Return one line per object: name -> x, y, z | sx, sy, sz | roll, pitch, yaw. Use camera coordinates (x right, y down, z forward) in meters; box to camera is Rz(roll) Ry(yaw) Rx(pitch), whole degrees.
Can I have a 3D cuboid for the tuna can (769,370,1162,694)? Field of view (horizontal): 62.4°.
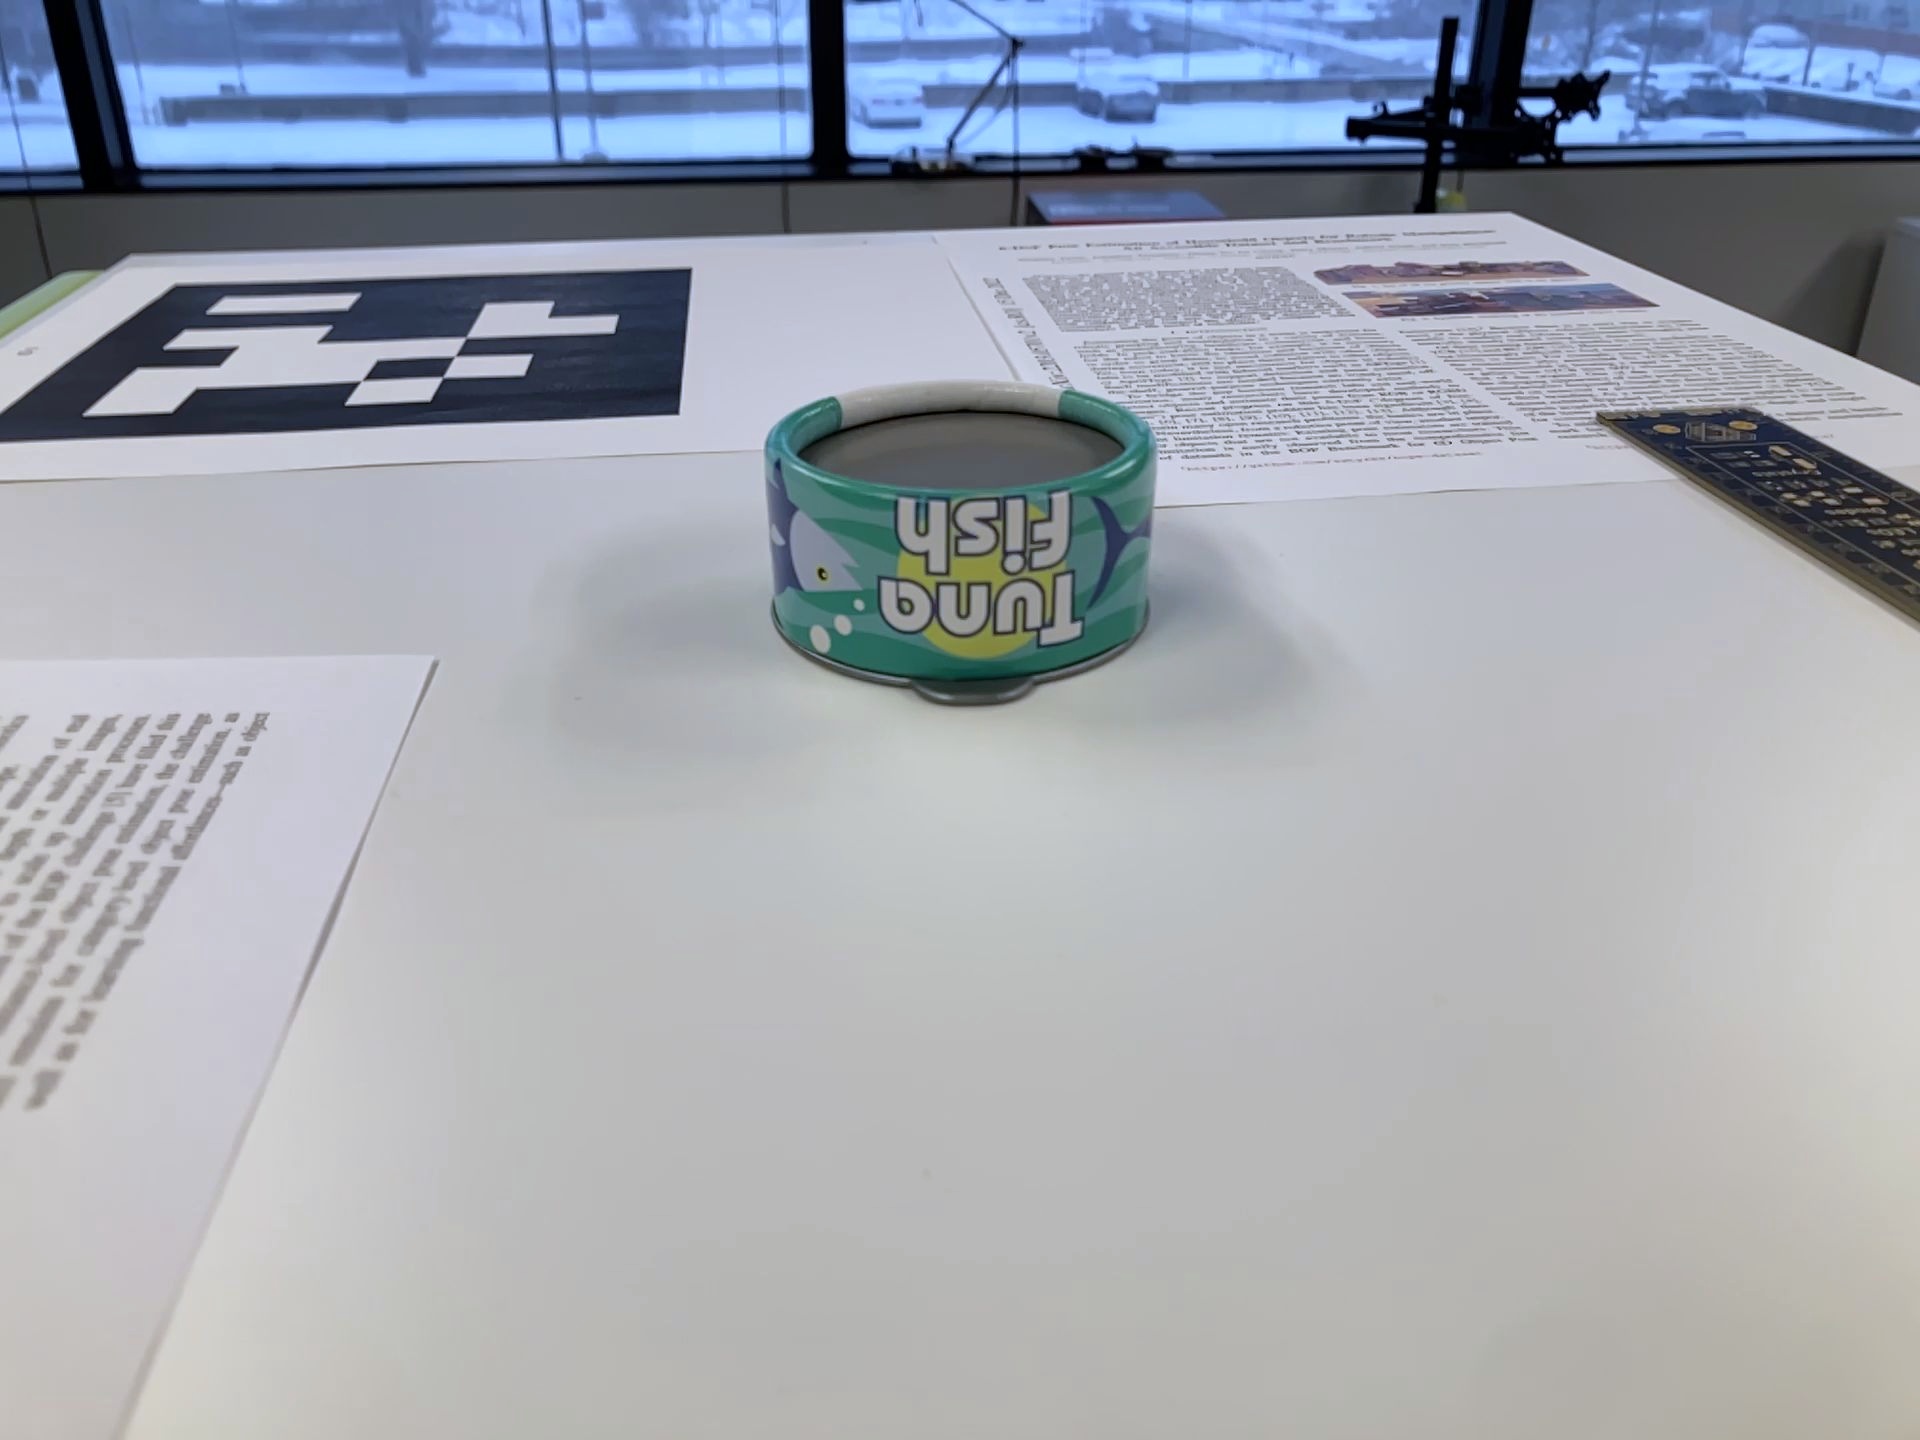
tuna can -> 0.001, -0.034, 0.268 | 0.071, 0.033, 0.071 | -1, 28, 1
